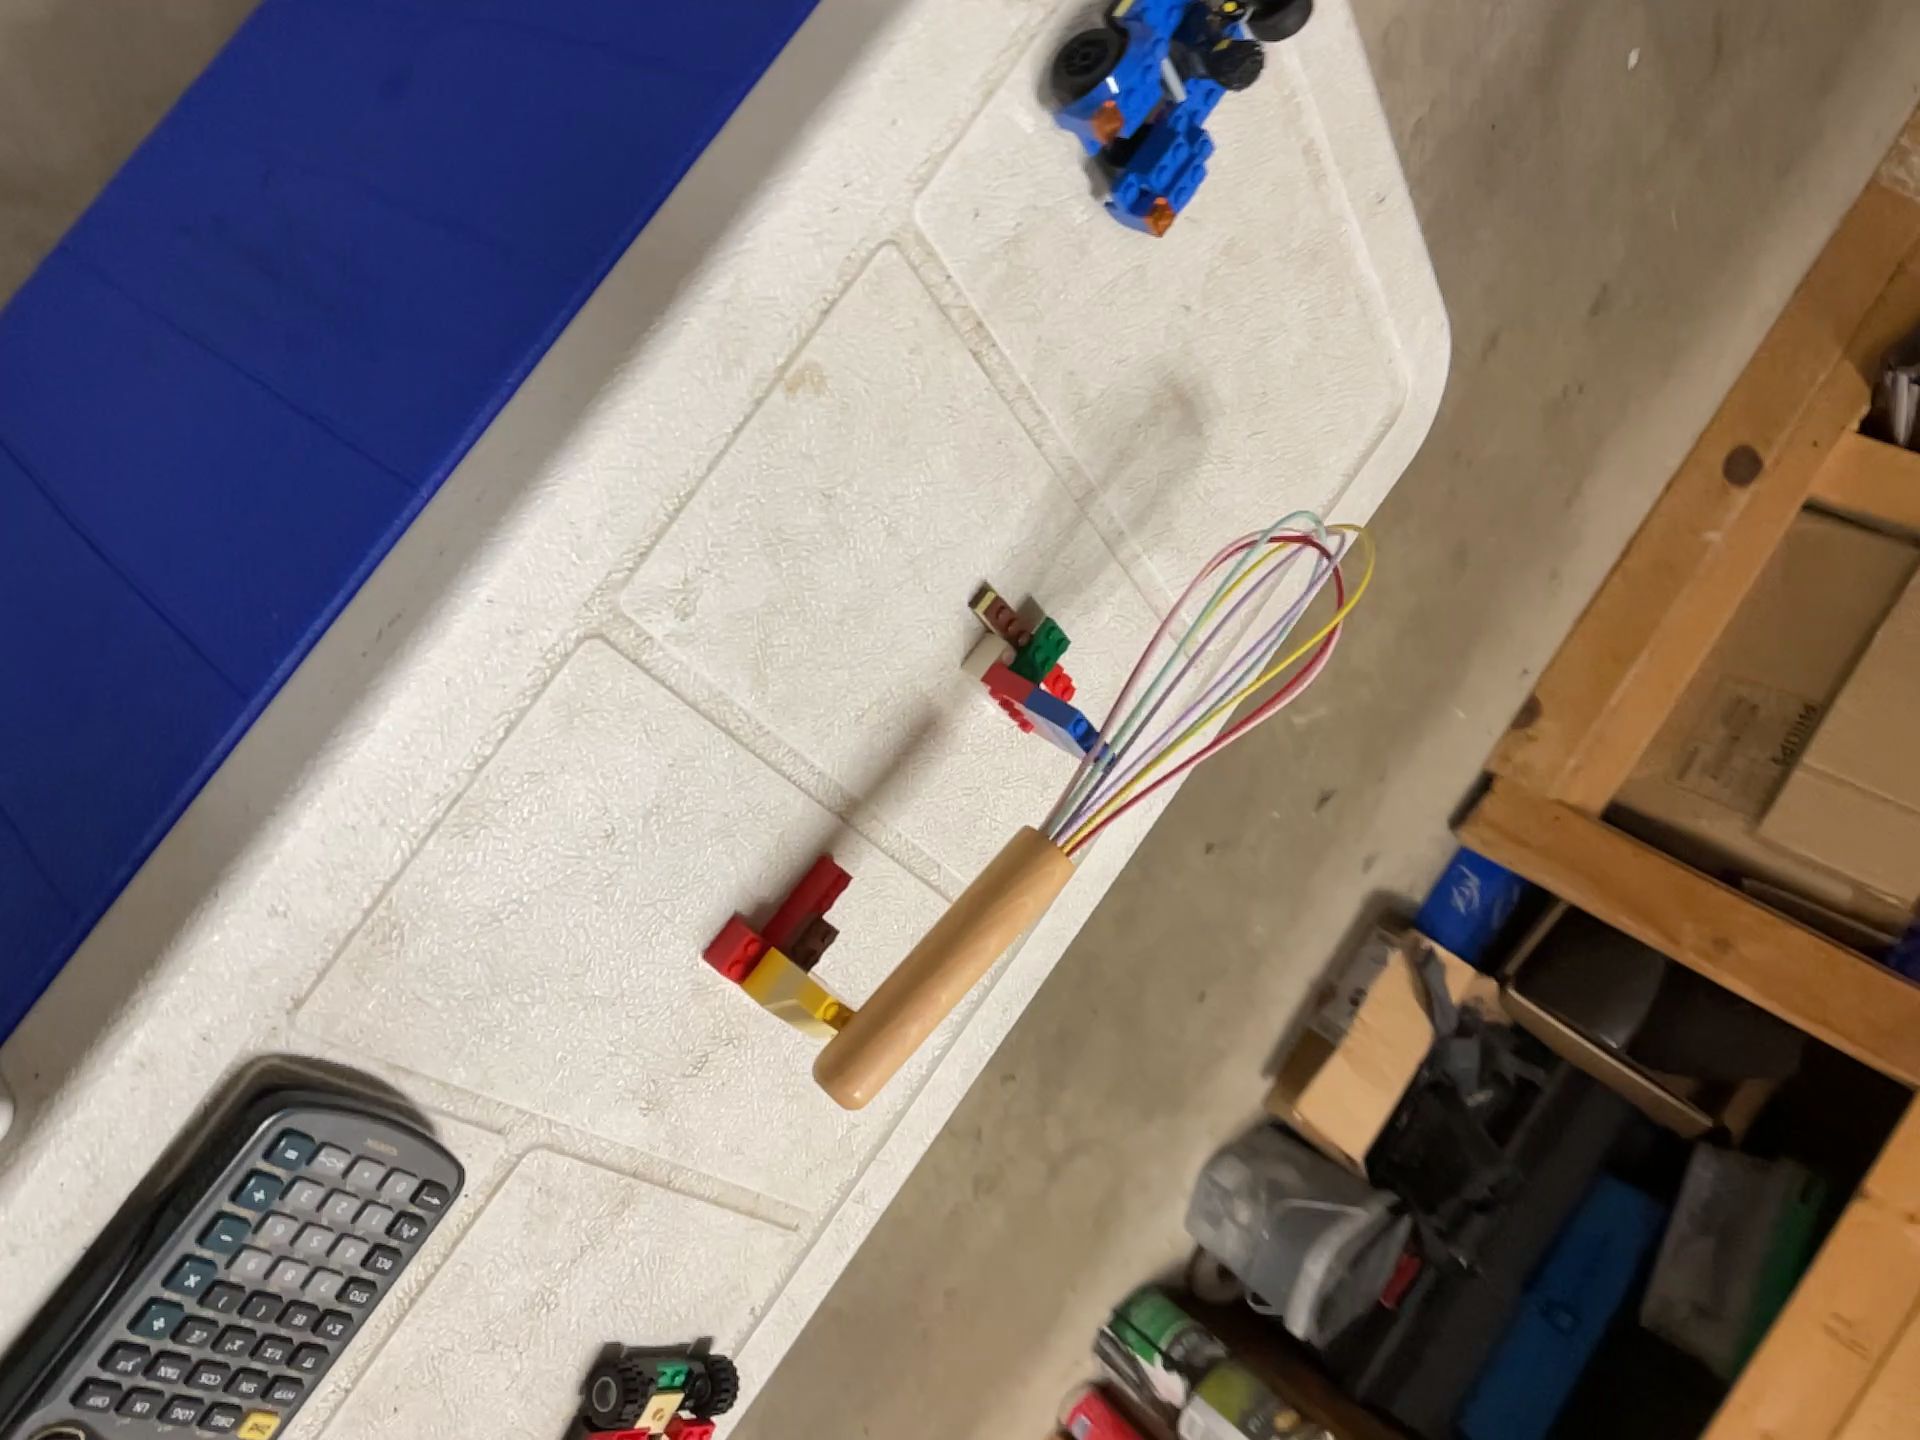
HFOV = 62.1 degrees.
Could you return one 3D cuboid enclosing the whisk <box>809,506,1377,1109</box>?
[{"bbox_3d":[0.044,0.023,0.492,0.245,0.047,0.051,-47,154,-11],"label":"whisk"}]
